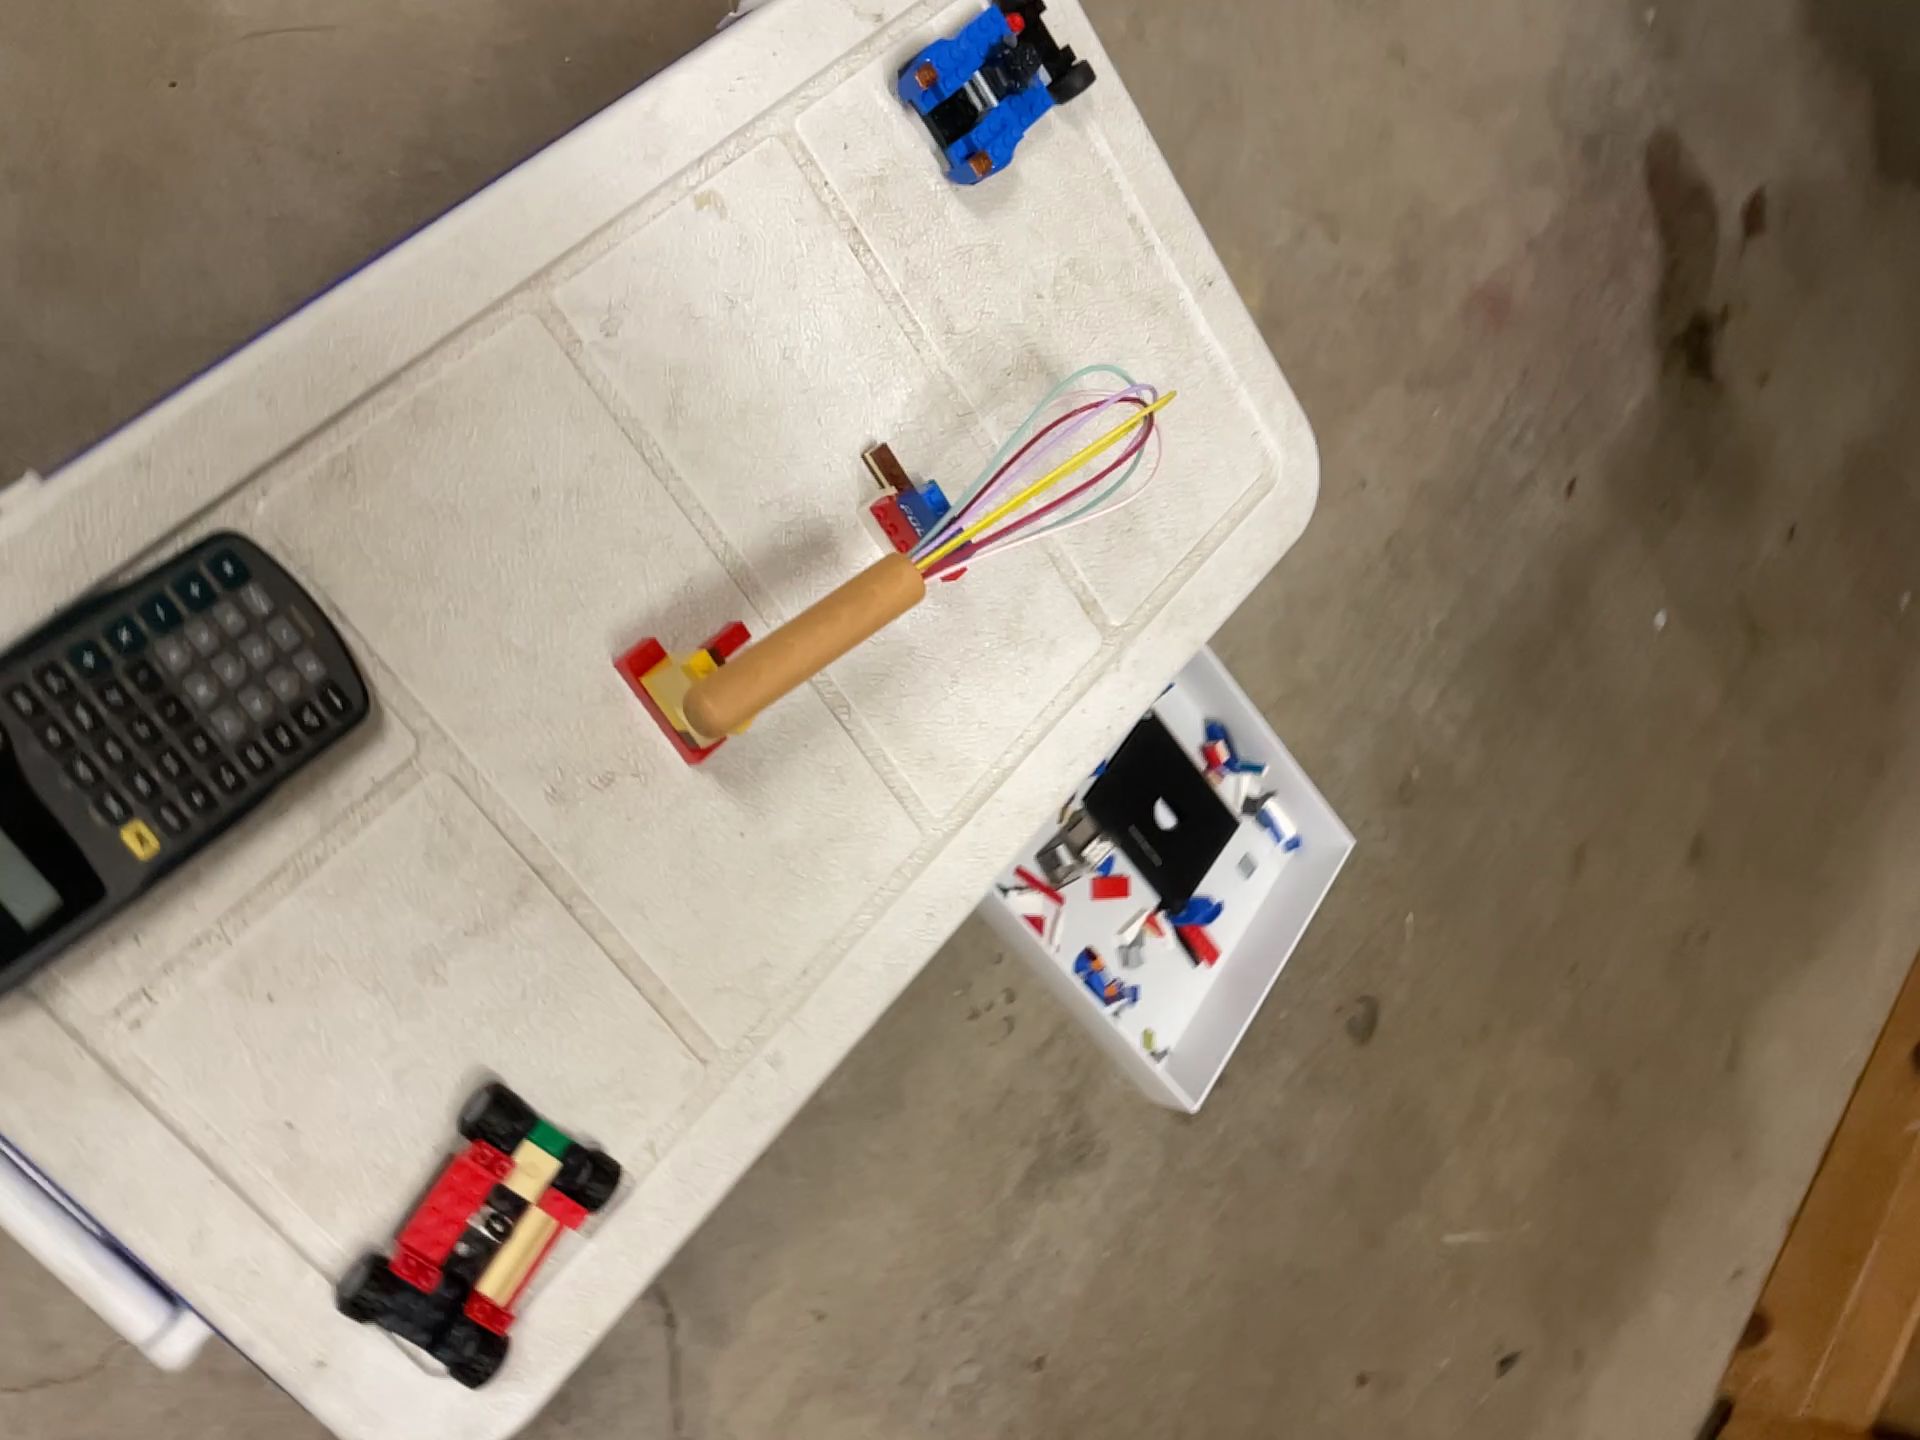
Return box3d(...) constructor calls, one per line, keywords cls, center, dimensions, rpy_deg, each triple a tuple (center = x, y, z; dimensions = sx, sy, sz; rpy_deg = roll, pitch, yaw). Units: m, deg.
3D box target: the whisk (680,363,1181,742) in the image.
box3d(cls="whisk", center=(-0.003, -0.067, 0.594), dimensions=(0.245, 0.047, 0.051), rpy_deg=(-37, 122, -26))
